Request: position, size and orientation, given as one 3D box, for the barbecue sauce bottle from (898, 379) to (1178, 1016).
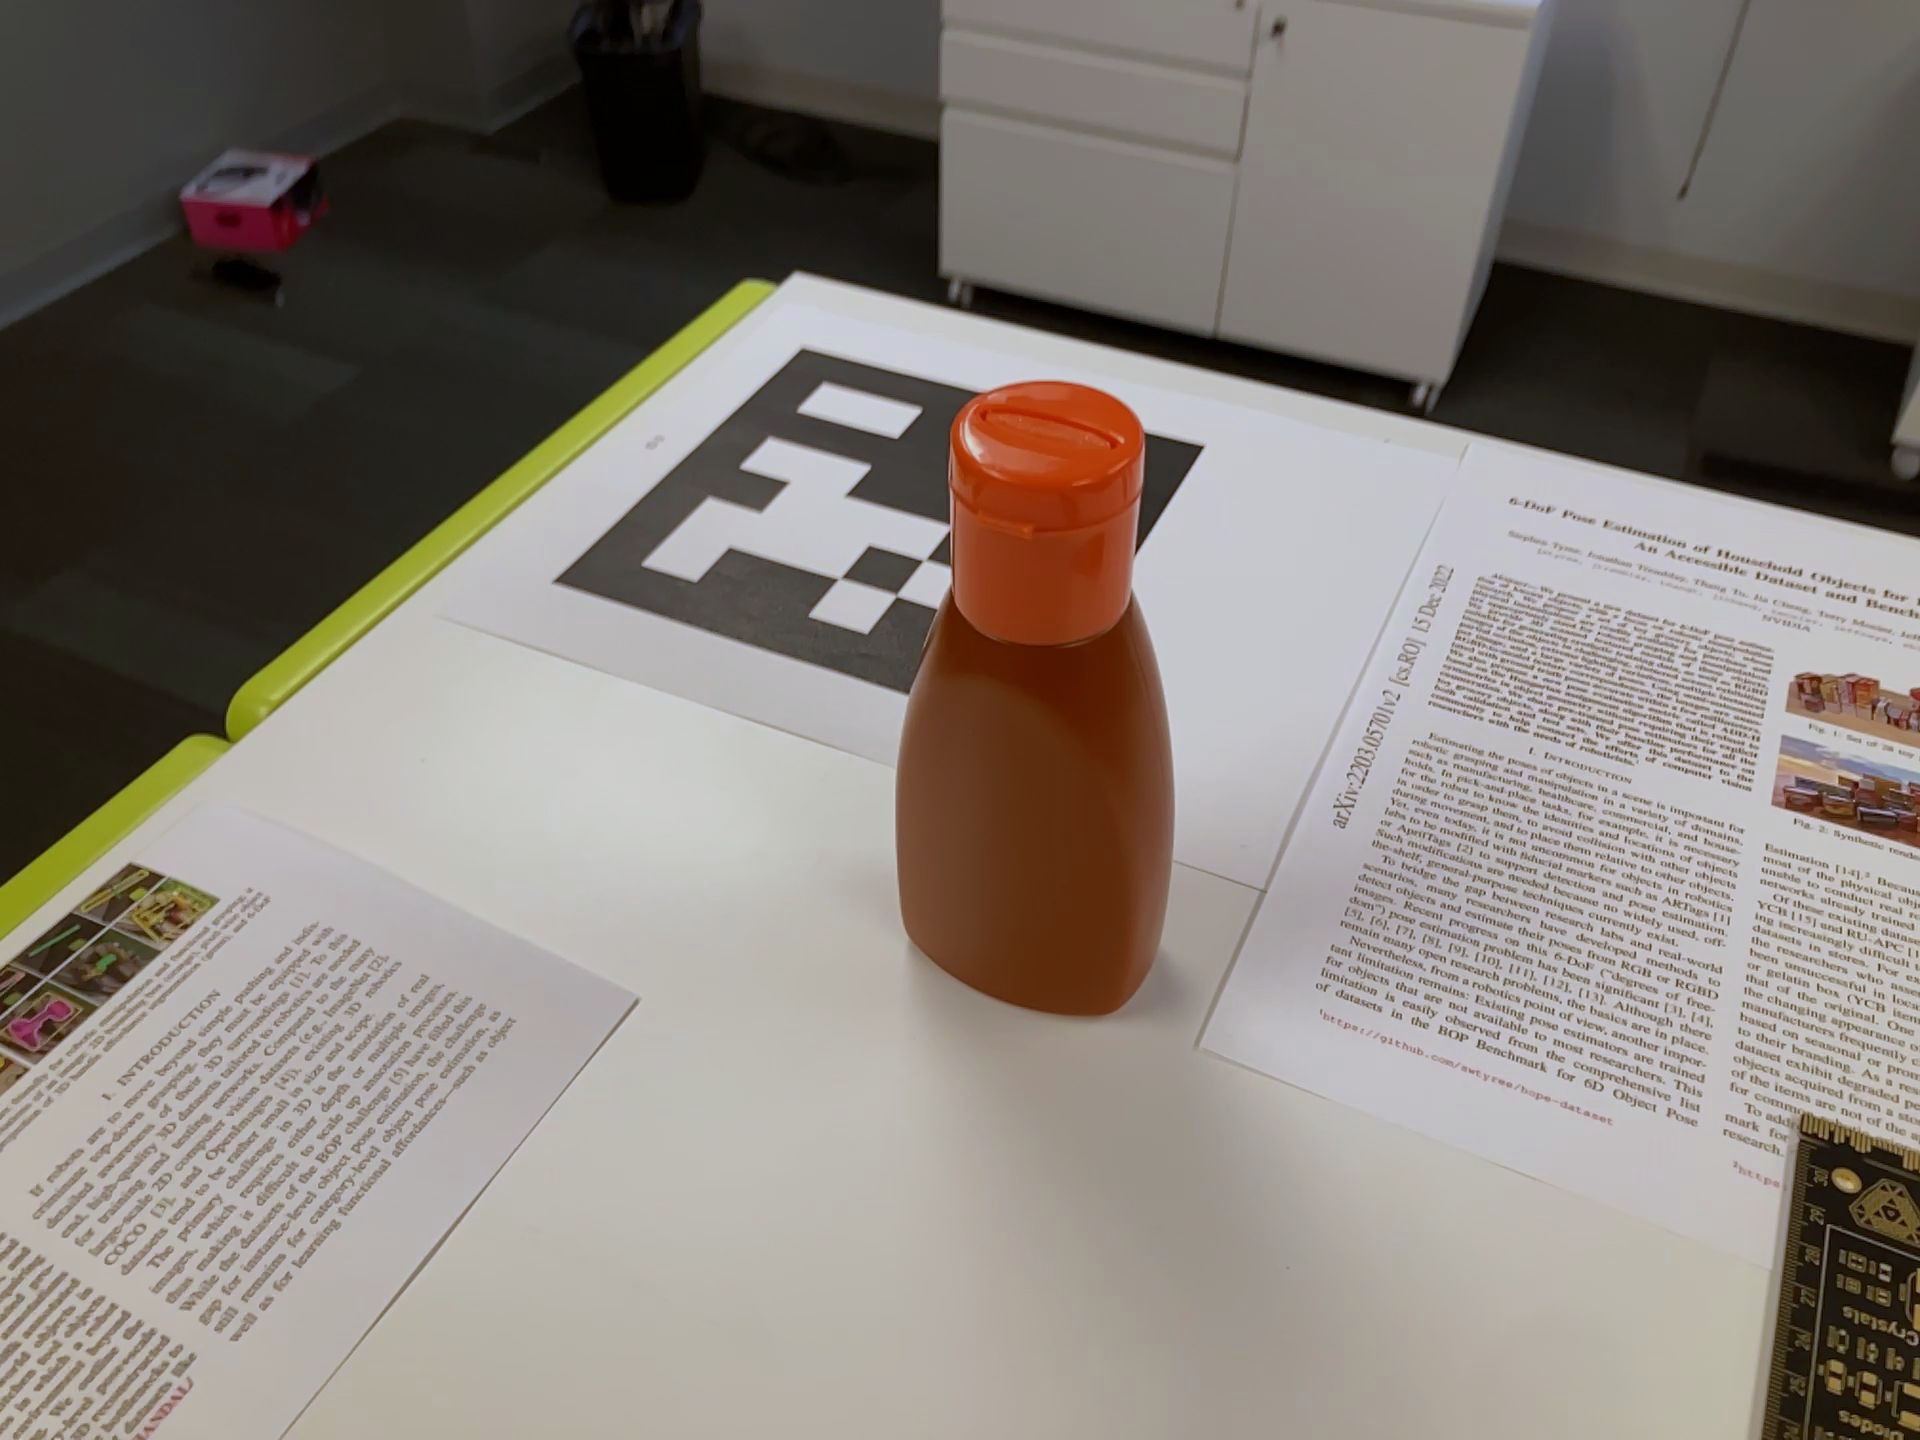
[{"bbox_3d":[0.017,0.000,0.343,0.065,0.148,0.043,19,46,20],"label":"barbecue sauce bottle"}]
